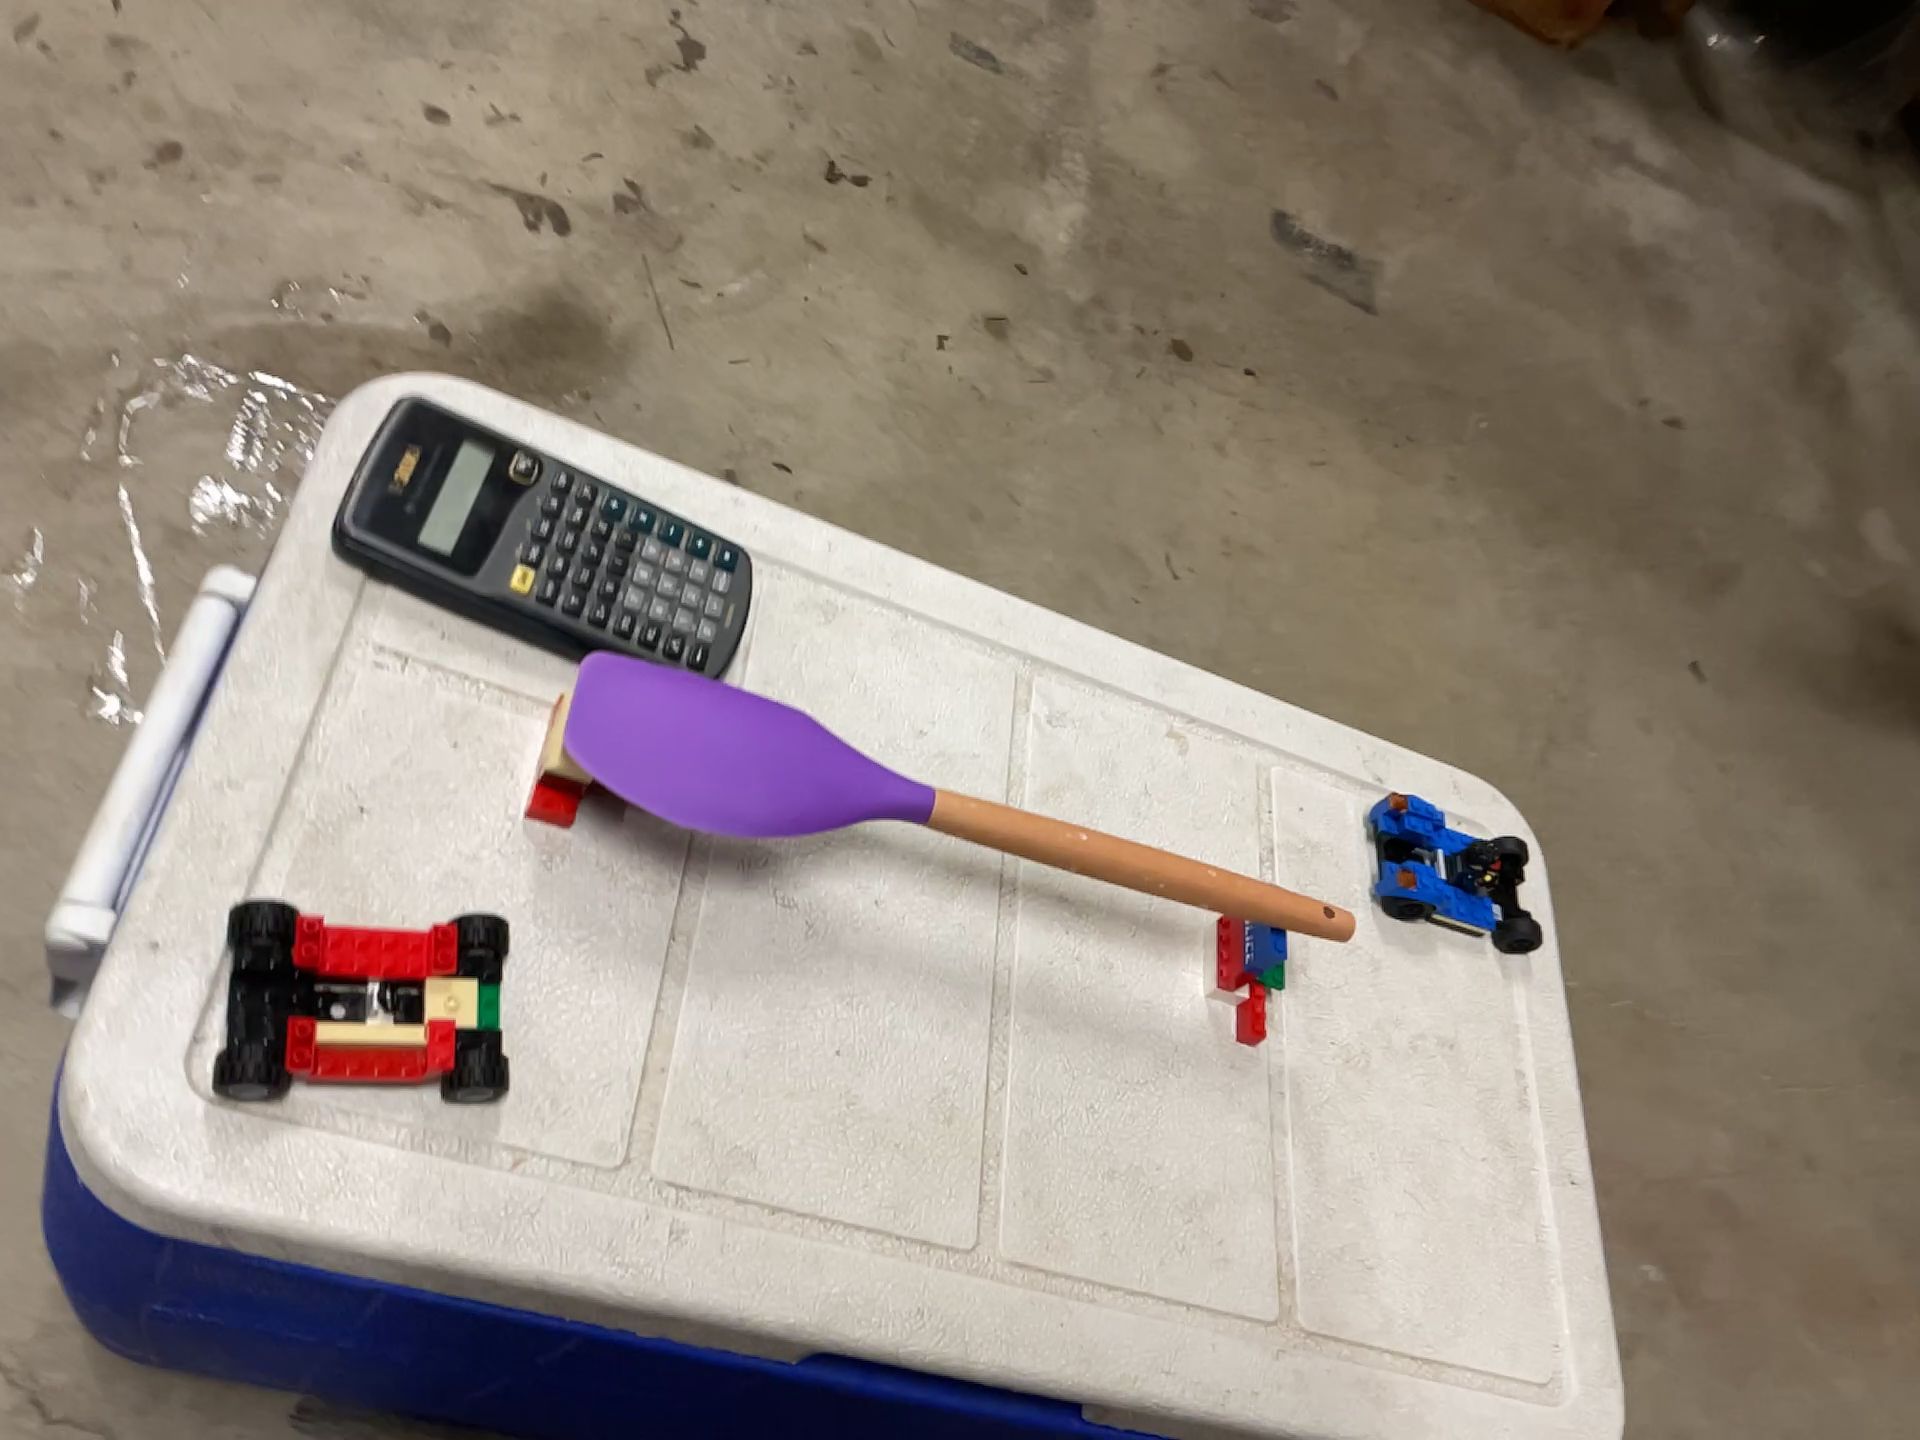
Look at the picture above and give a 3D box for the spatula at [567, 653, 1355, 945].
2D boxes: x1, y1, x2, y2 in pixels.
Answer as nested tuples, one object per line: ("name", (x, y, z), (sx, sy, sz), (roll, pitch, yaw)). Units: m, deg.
("spatula", (0.012, 0.041, 0.587), (0.316, 0.018, 0.060), (17, 53, -19))
